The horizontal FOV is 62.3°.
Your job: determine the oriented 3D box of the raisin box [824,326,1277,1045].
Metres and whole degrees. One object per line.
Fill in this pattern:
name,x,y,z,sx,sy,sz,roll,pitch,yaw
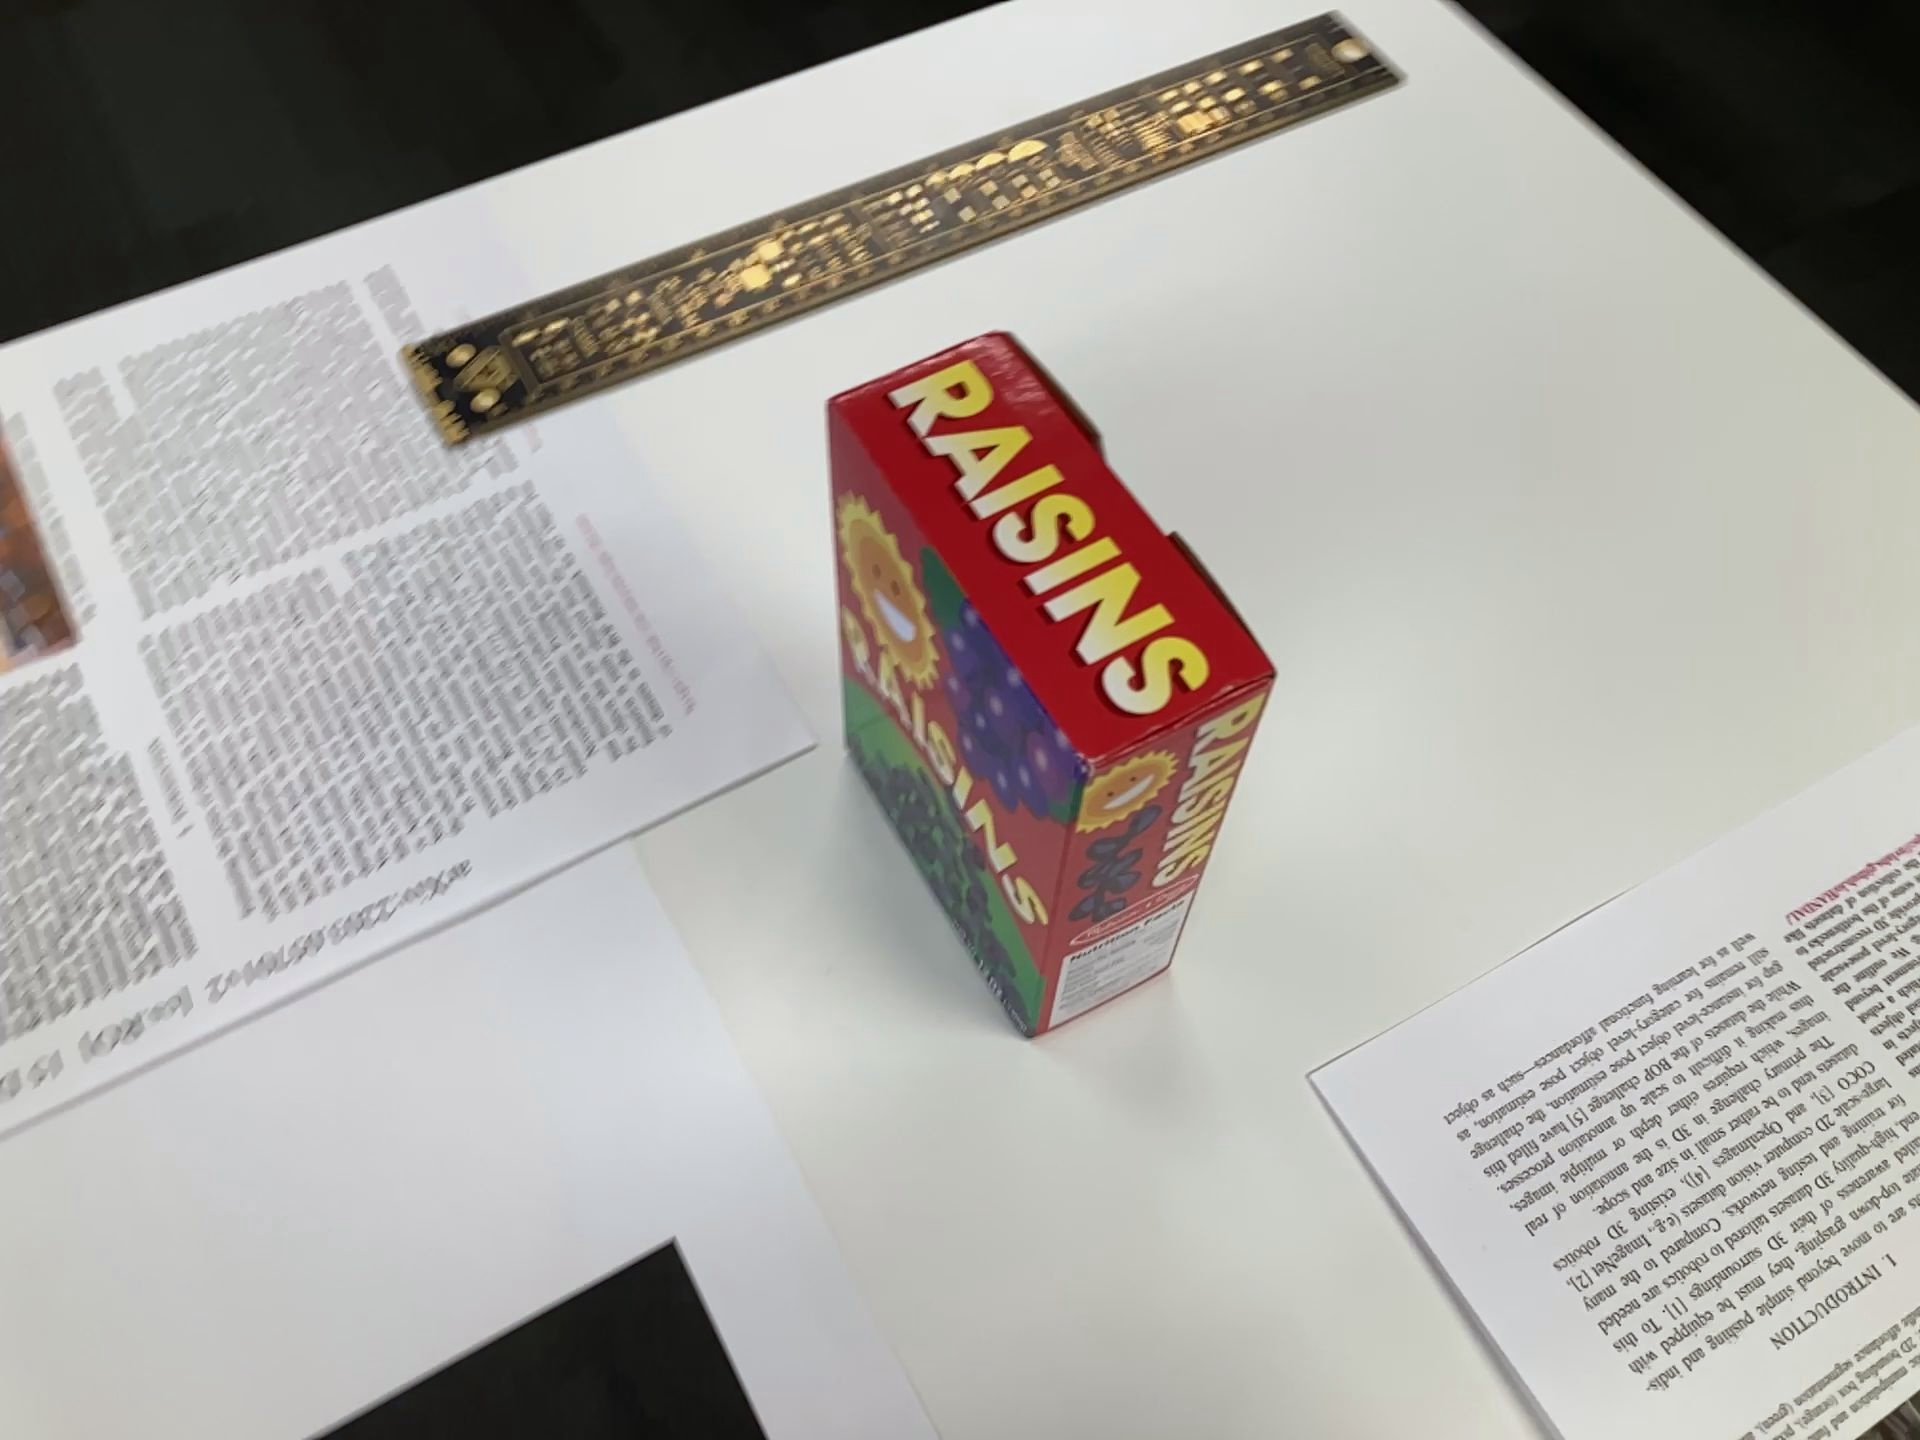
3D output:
raisin box,0.012,-0.001,0.307,0.040,0.123,0.086,-25,63,-16
